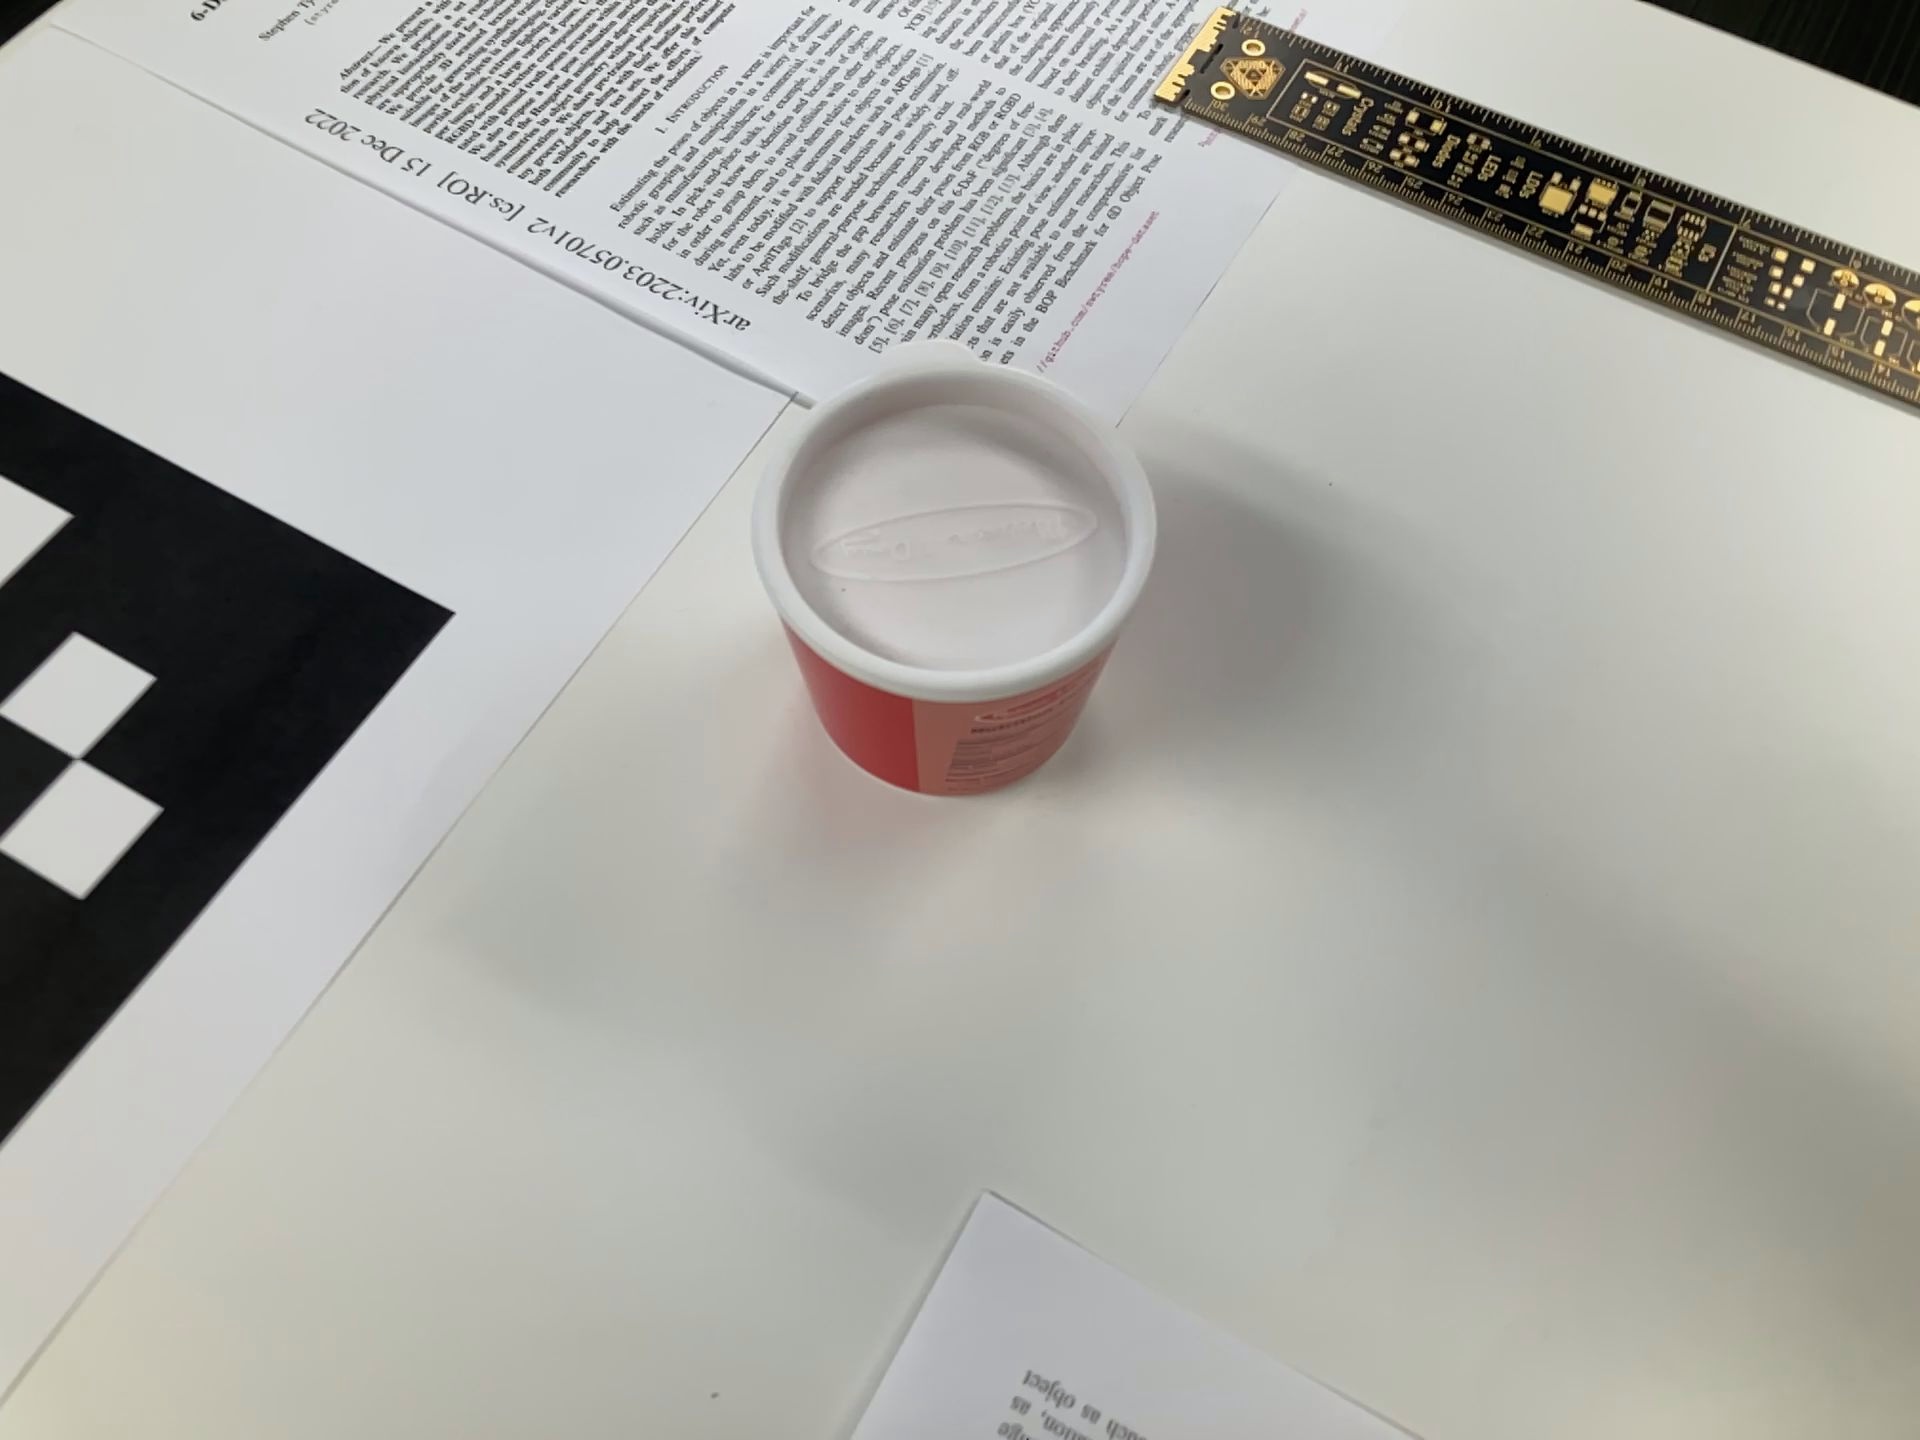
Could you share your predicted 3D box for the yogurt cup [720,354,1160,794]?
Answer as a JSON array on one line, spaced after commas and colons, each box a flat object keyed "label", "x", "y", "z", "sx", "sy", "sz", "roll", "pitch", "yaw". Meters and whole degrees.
[{"label": "yogurt cup", "x": -0.002, "y": -0.022, "z": 0.283, "sx": 0.072, "sy": 0.054, "sz": 0.072, "roll": 1, "pitch": 63, "yaw": -1}]
